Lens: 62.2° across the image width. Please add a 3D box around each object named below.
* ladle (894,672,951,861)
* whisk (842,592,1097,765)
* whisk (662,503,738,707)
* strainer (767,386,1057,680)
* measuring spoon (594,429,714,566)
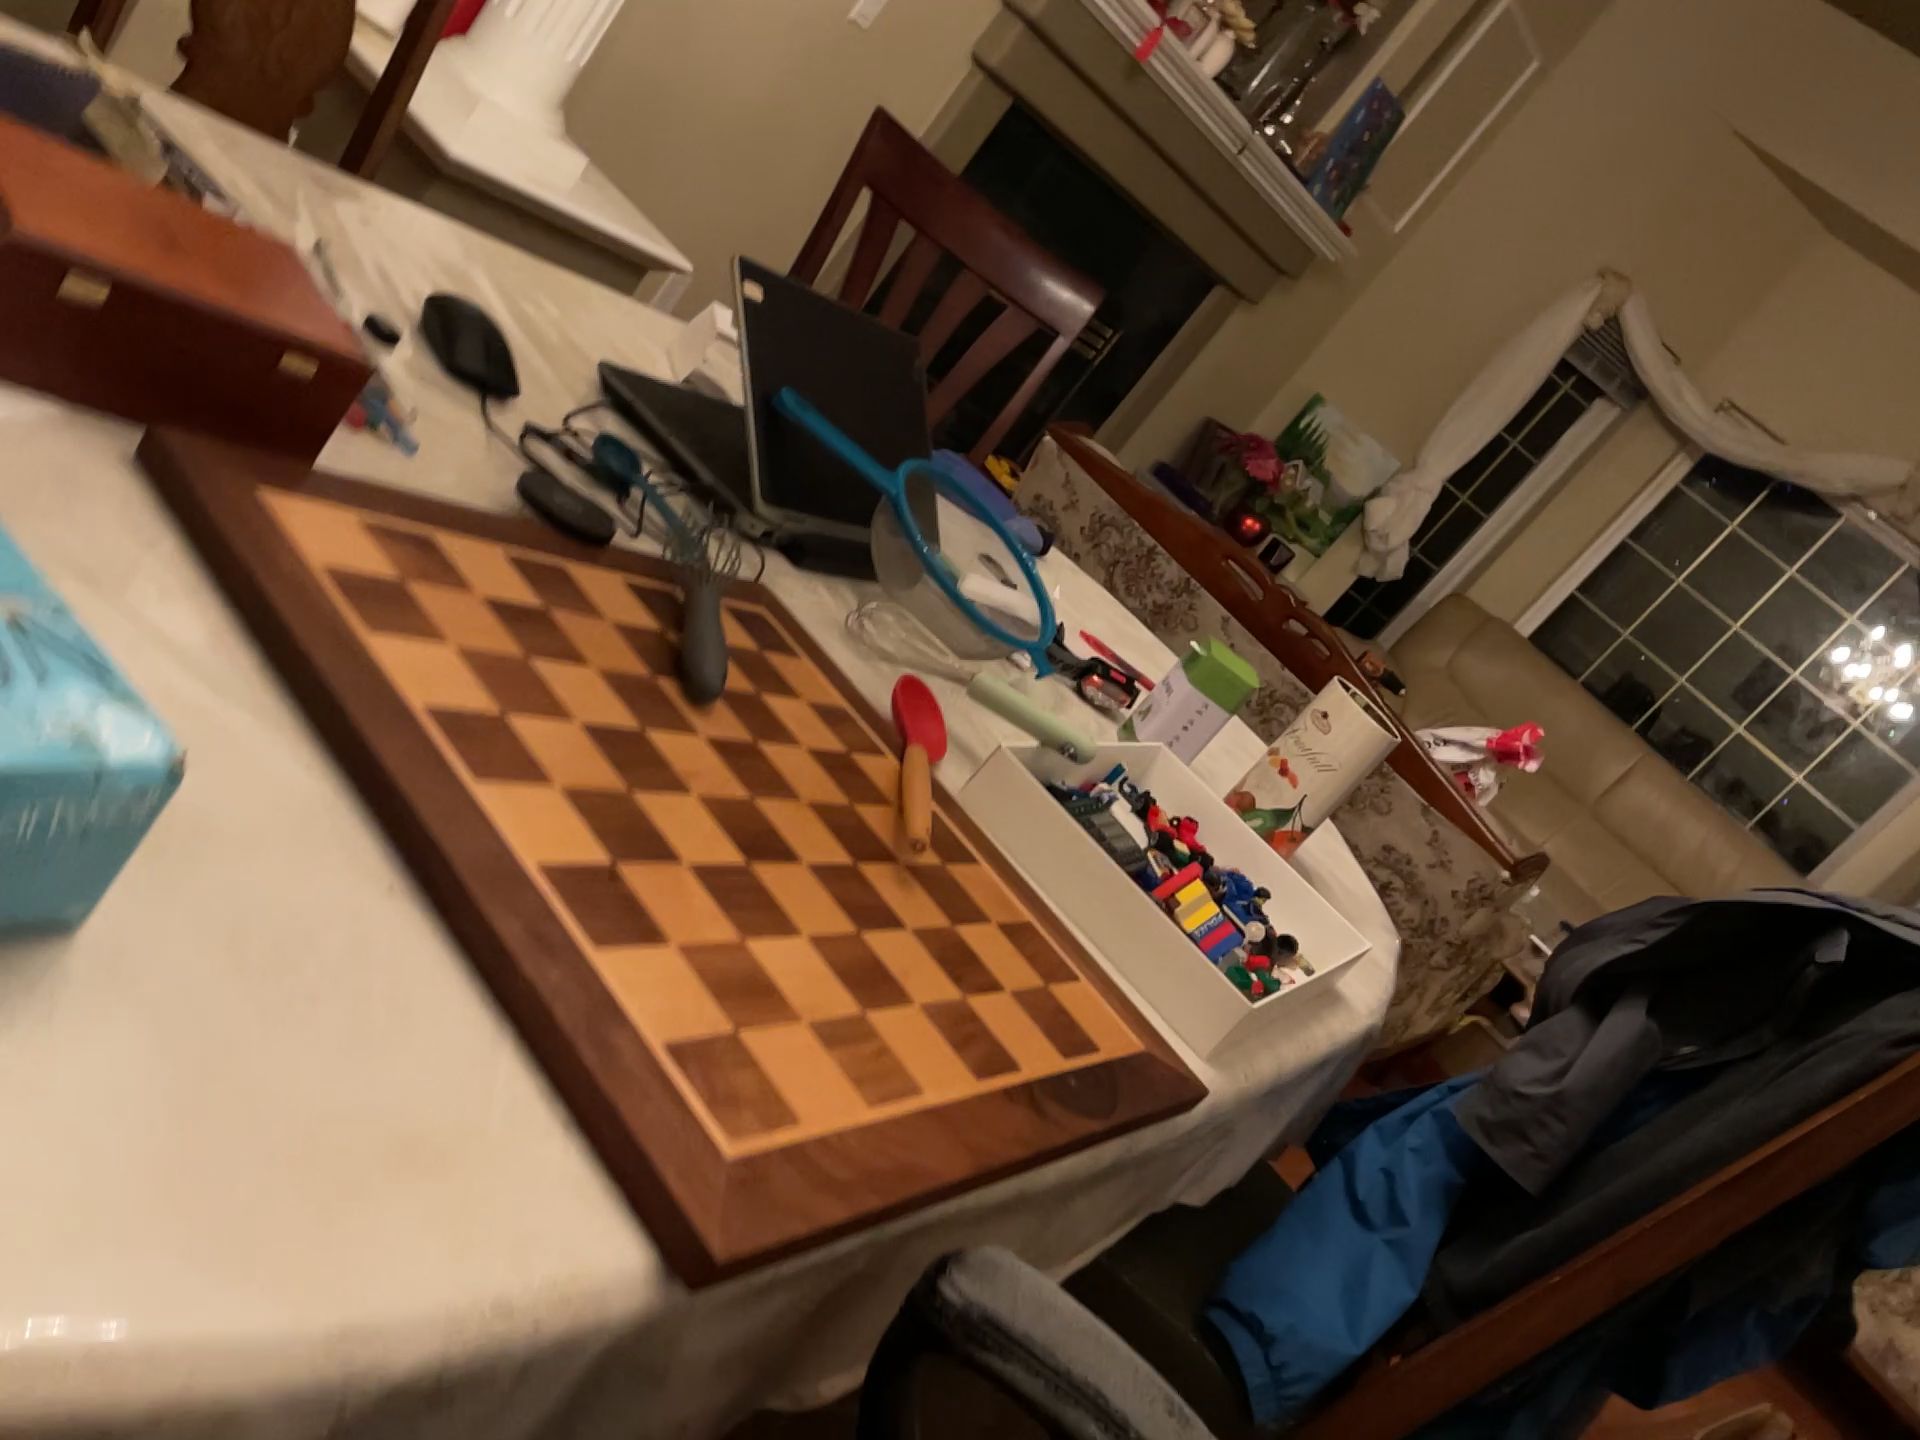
[{"bbox_3d":[-0.027,0.032,1.061,0.069,0.031,0.315,59,8,-15],"label":"ladle"},{"bbox_3d":[0.006,-0.033,1.250,0.246,0.057,0.059,32,43,24],"label":"whisk"},{"bbox_3d":[-0.167,-0.076,1.019,0.055,0.055,0.239,19,28,-19],"label":"whisk"},{"bbox_3d":[-0.059,-0.160,1.403,0.340,0.095,0.211,37,29,-29],"label":"strainer"},{"bbox_3d":[-0.232,-0.162,1.196,0.128,0.021,0.042,51,24,-5],"label":"measuring spoon"}]
